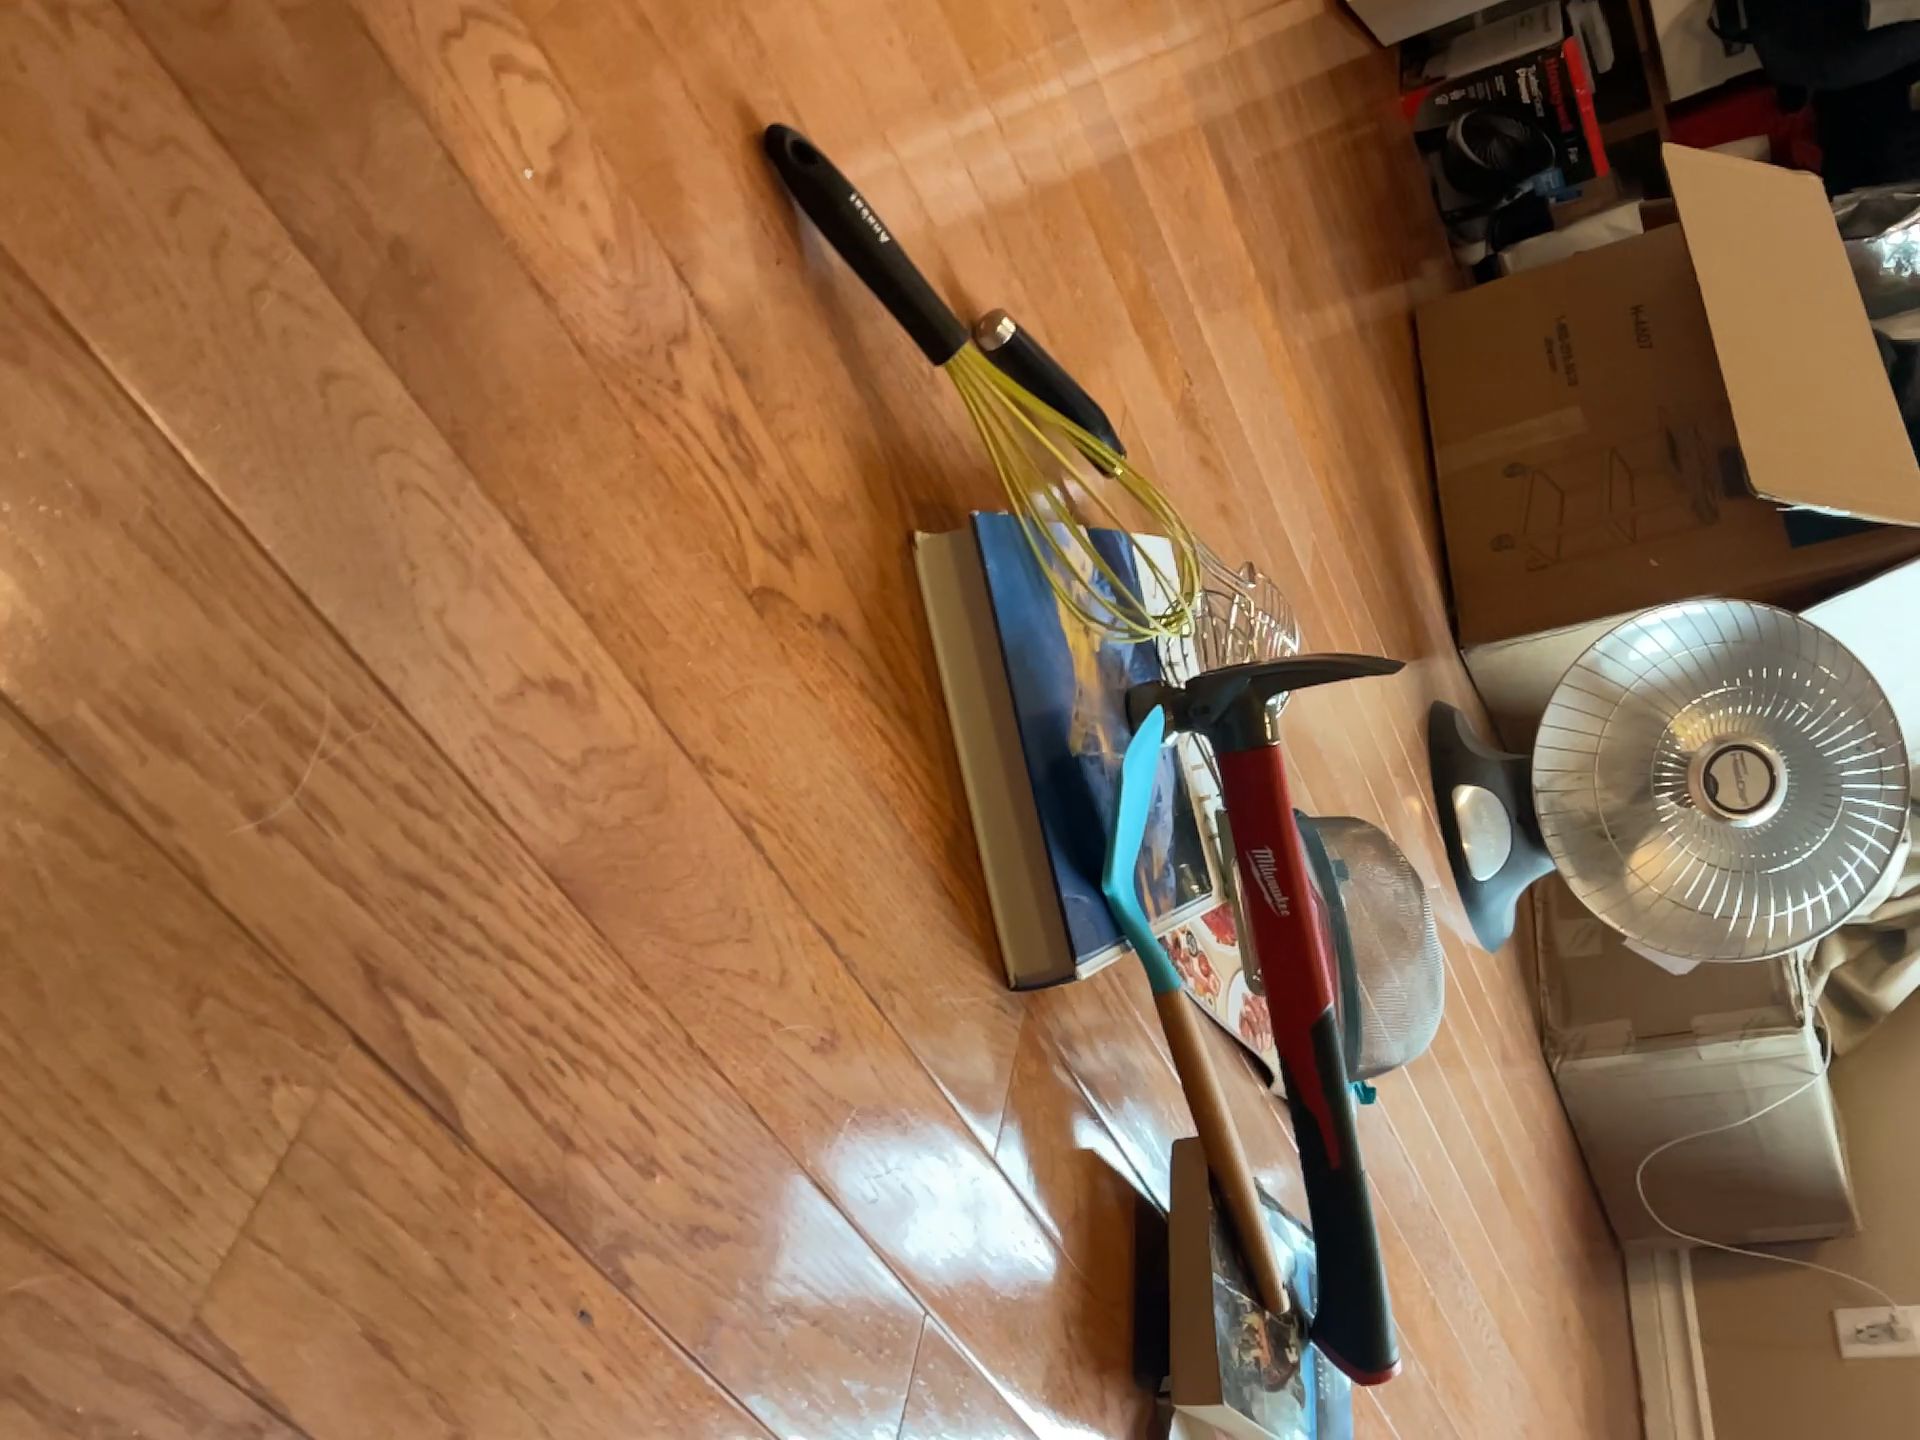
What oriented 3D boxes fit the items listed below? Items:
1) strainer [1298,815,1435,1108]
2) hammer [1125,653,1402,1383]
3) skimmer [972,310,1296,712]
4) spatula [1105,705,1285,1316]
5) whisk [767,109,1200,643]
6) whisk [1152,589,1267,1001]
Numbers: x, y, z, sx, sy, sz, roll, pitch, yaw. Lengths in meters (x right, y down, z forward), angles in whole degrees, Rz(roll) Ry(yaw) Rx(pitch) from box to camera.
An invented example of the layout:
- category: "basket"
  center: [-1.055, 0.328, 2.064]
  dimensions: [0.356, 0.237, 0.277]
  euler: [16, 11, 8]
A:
- category: "strainer"
  center: [0.268, 0.137, 1.098]
  dimensions: [0.340, 0.095, 0.211]
  euler: [48, 37, -56]
- category: "hammer"
  center: [0.194, 0.159, 0.838]
  dimensions: [0.038, 0.143, 0.386]
  euler: [-19, 98, -61]
- category: "skimmer"
  center: [0.104, -0.110, 0.983]
  dimensions: [0.363, 0.090, 0.128]
  euler: [40, 45, -36]
- category: "spatula"
  center: [0.118, 0.153, 0.776]
  dimensions: [0.082, 0.044, 0.317]
  euler: [-44, 117, -63]
- category: "whisk"
  center: [0.013, -0.153, 0.745]
  dimensions: [0.311, 0.067, 0.080]
  euler: [49, 50, -20]
- category: "whisk"
  center: [0.155, 0.043, 0.916]
  dimensions: [0.059, 0.058, 0.246]
  euler: [-144, -138, -81]
